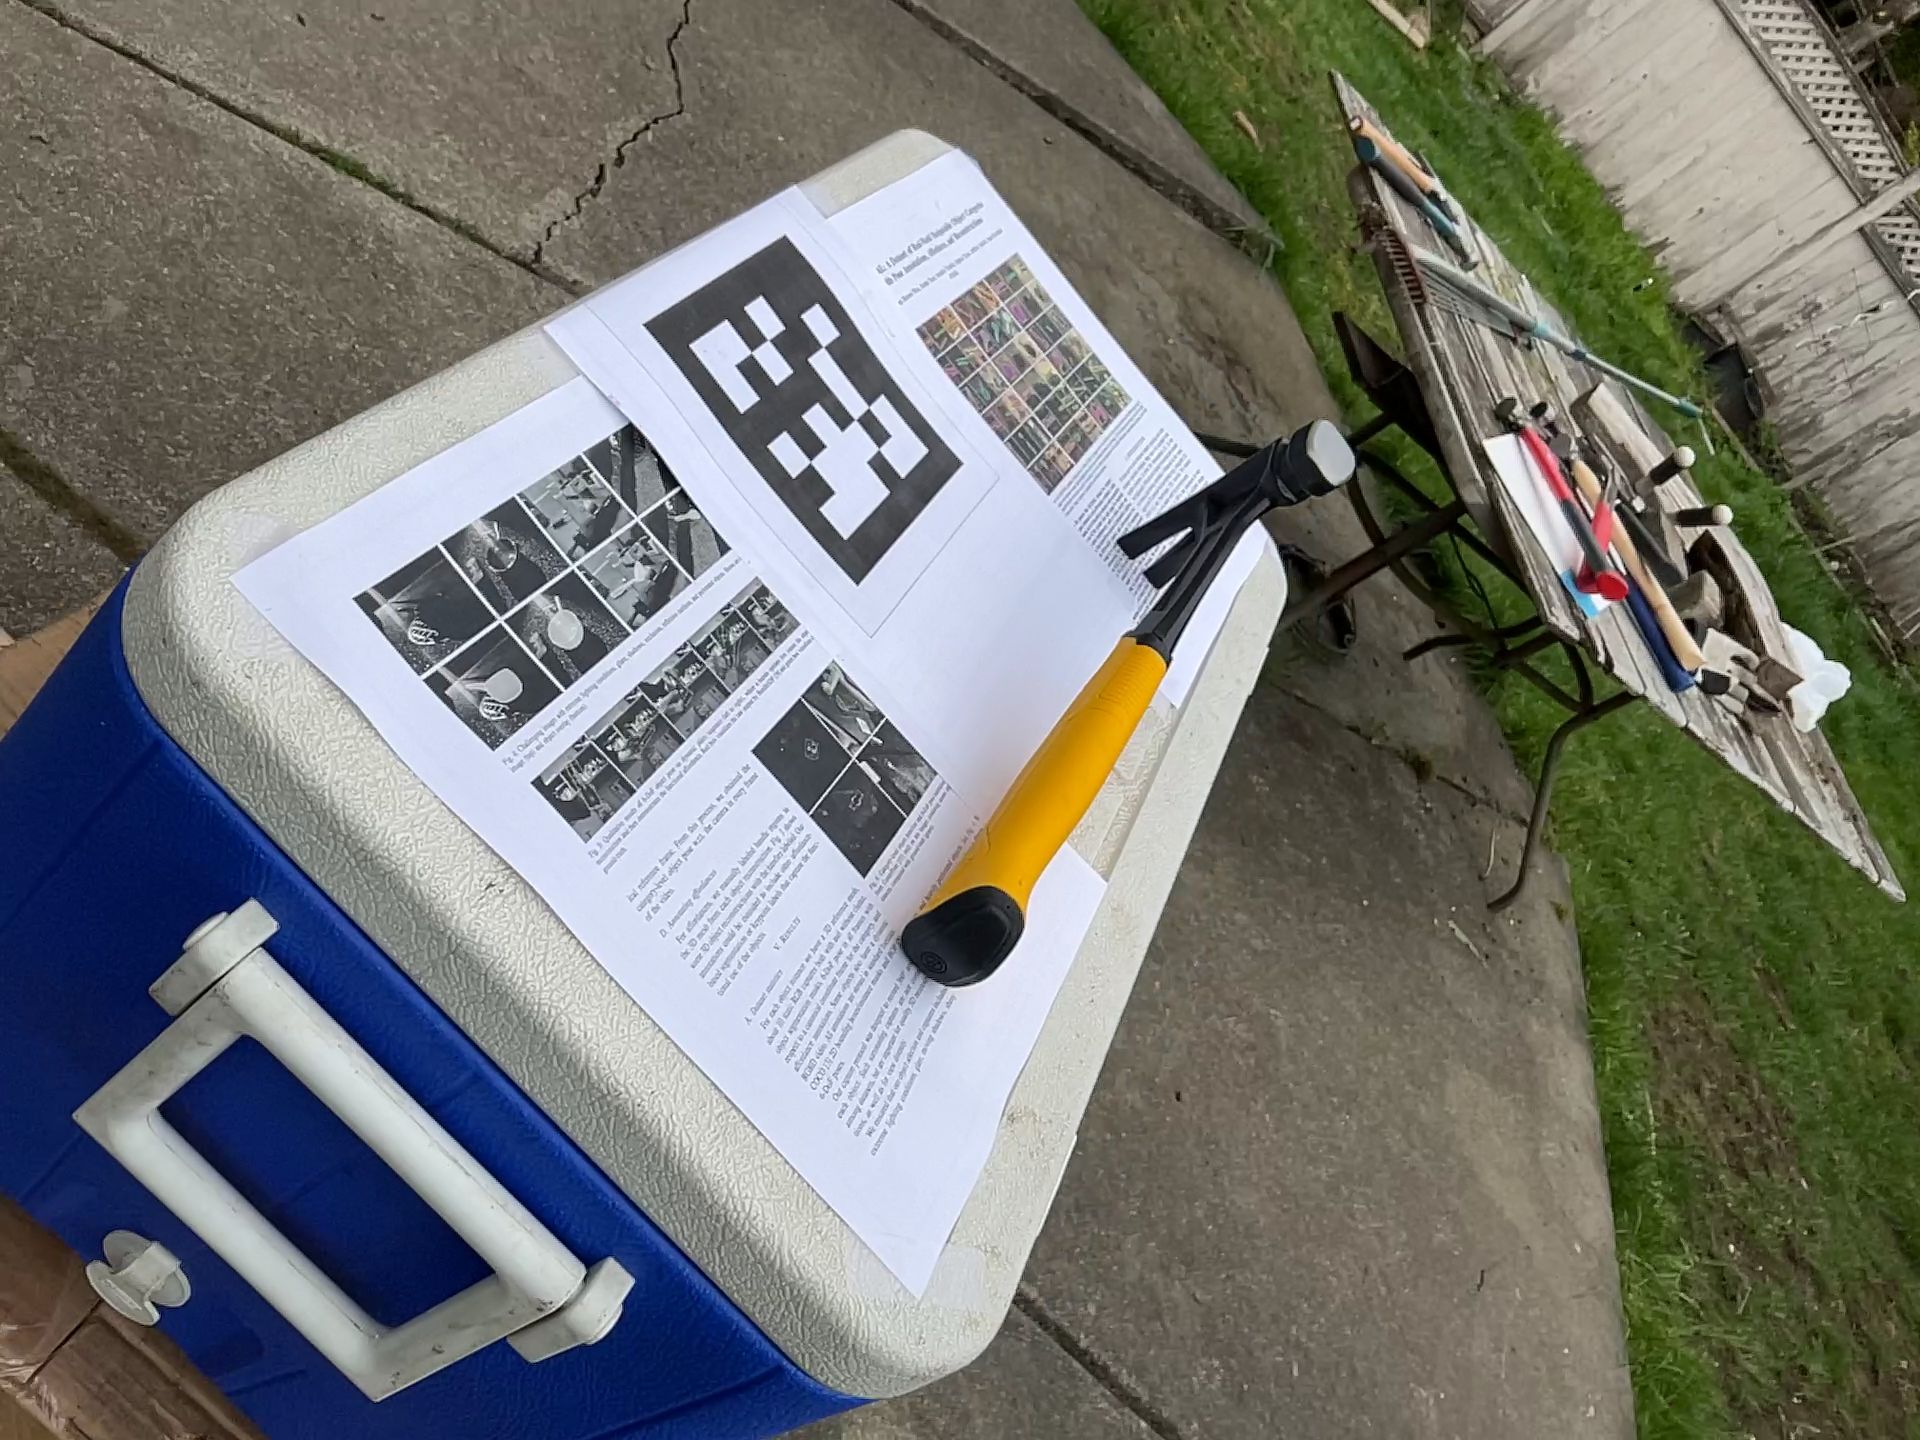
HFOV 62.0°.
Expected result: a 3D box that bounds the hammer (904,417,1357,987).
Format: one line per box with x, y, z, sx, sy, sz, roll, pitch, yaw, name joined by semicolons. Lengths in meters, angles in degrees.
0.063;-0.014;0.654;0.034;0.127;0.337;49;45;-11;hammer
